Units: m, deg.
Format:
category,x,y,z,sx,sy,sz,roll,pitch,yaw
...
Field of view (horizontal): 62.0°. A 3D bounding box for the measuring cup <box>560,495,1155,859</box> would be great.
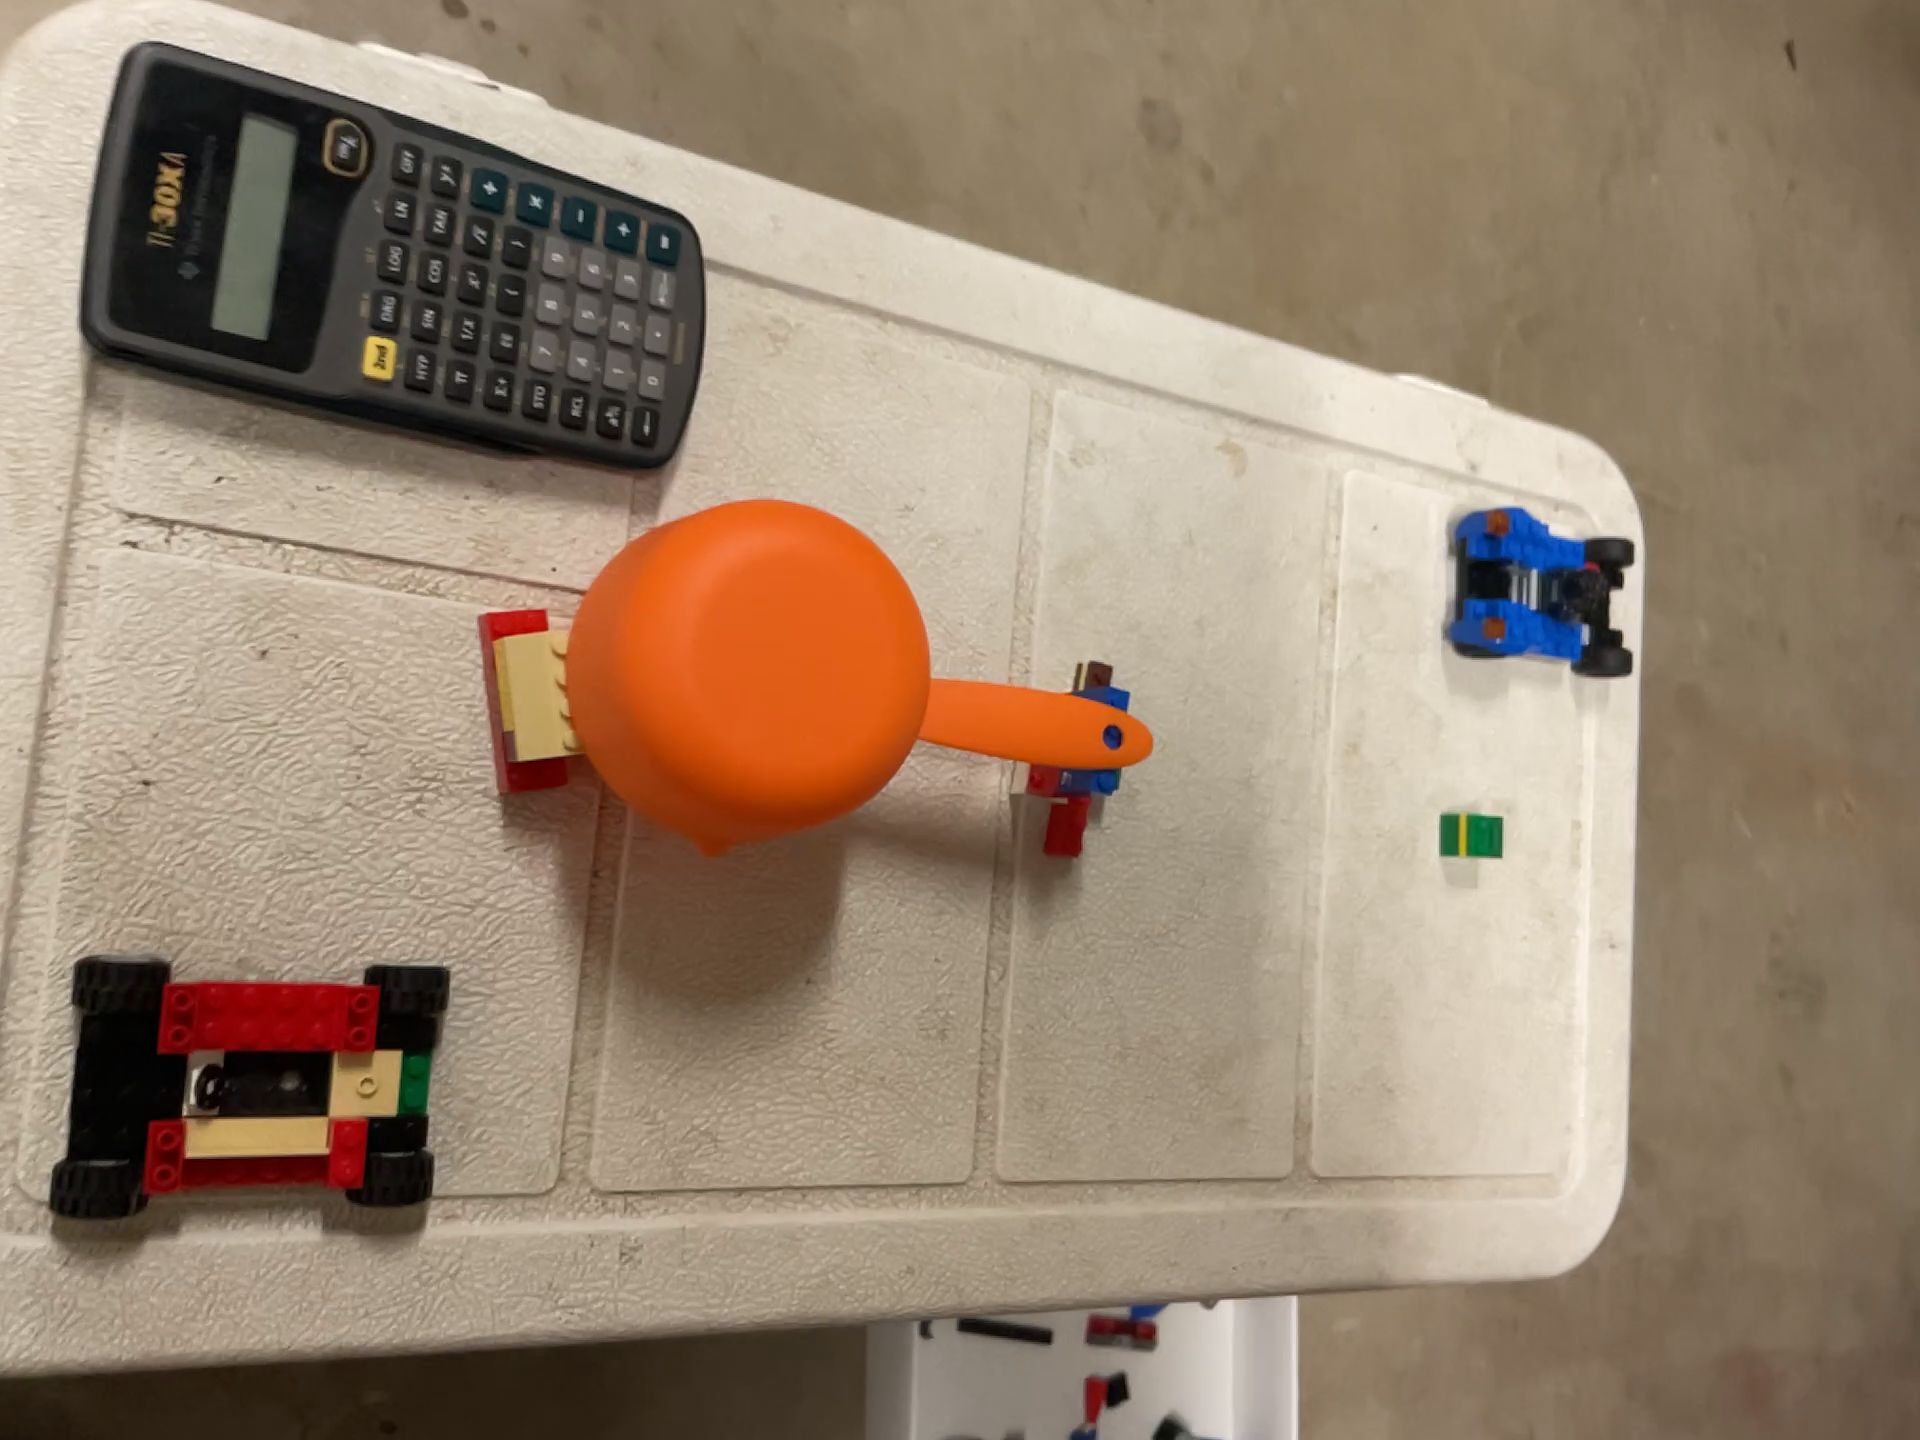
category,x,y,z,sx,sy,sz,roll,pitch,yaw
measuring cup,-0.013,-0.006,0.417,0.173,0.052,0.095,10,83,-23
